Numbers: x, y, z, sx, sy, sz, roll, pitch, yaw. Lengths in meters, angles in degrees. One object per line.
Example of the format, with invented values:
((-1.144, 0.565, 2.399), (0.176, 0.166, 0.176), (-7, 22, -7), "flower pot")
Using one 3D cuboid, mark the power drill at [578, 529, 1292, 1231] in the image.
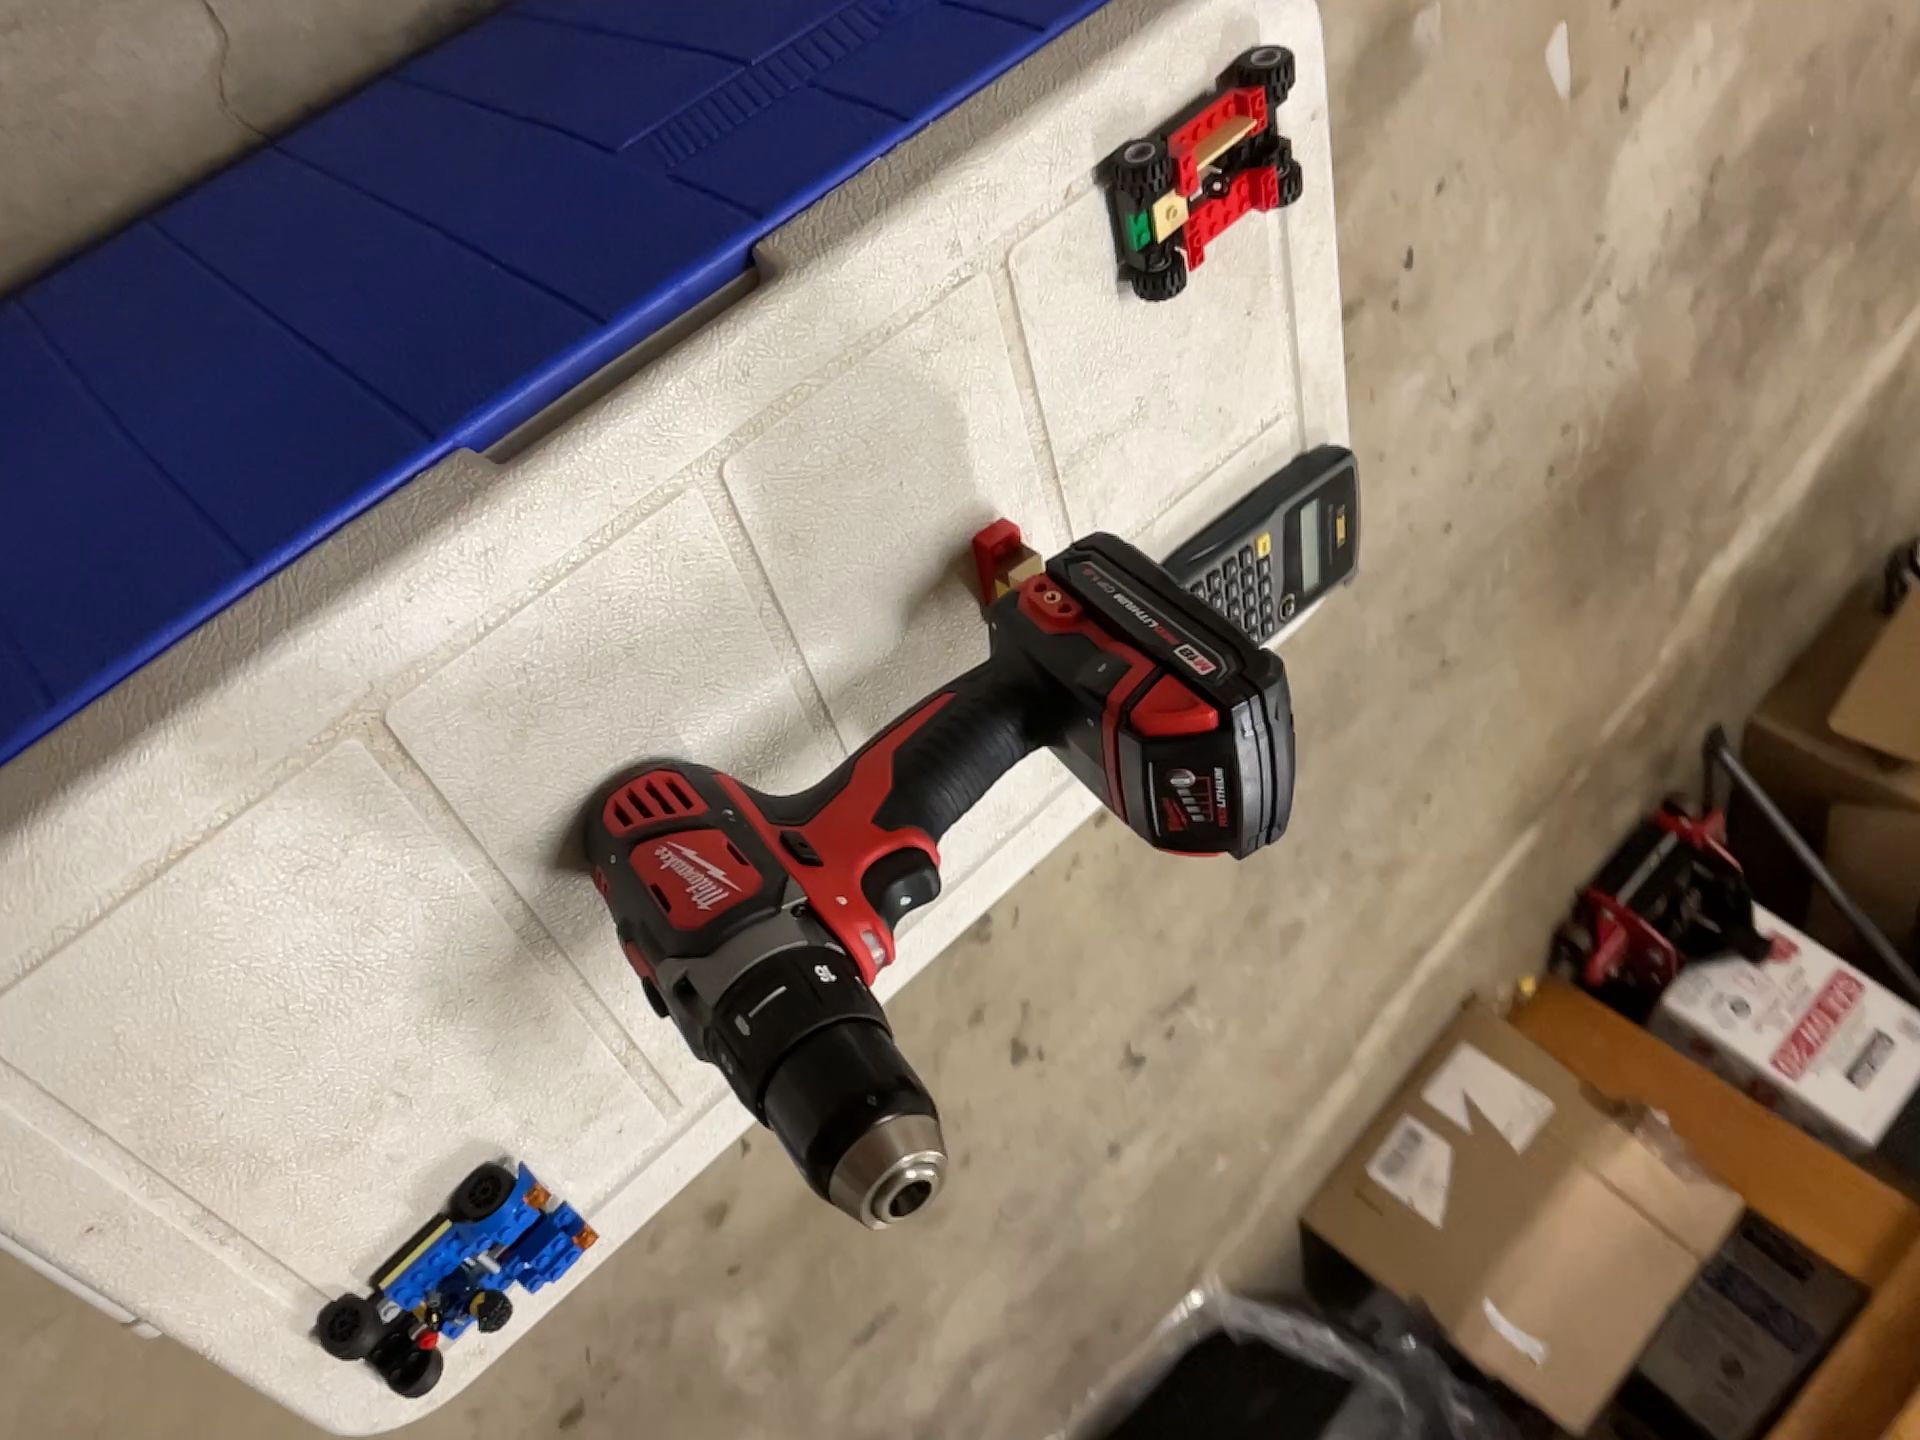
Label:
((0.003, 0.045, 0.529), (0.227, 0.188, 0.080), (-29, 136, -17), "power drill")
